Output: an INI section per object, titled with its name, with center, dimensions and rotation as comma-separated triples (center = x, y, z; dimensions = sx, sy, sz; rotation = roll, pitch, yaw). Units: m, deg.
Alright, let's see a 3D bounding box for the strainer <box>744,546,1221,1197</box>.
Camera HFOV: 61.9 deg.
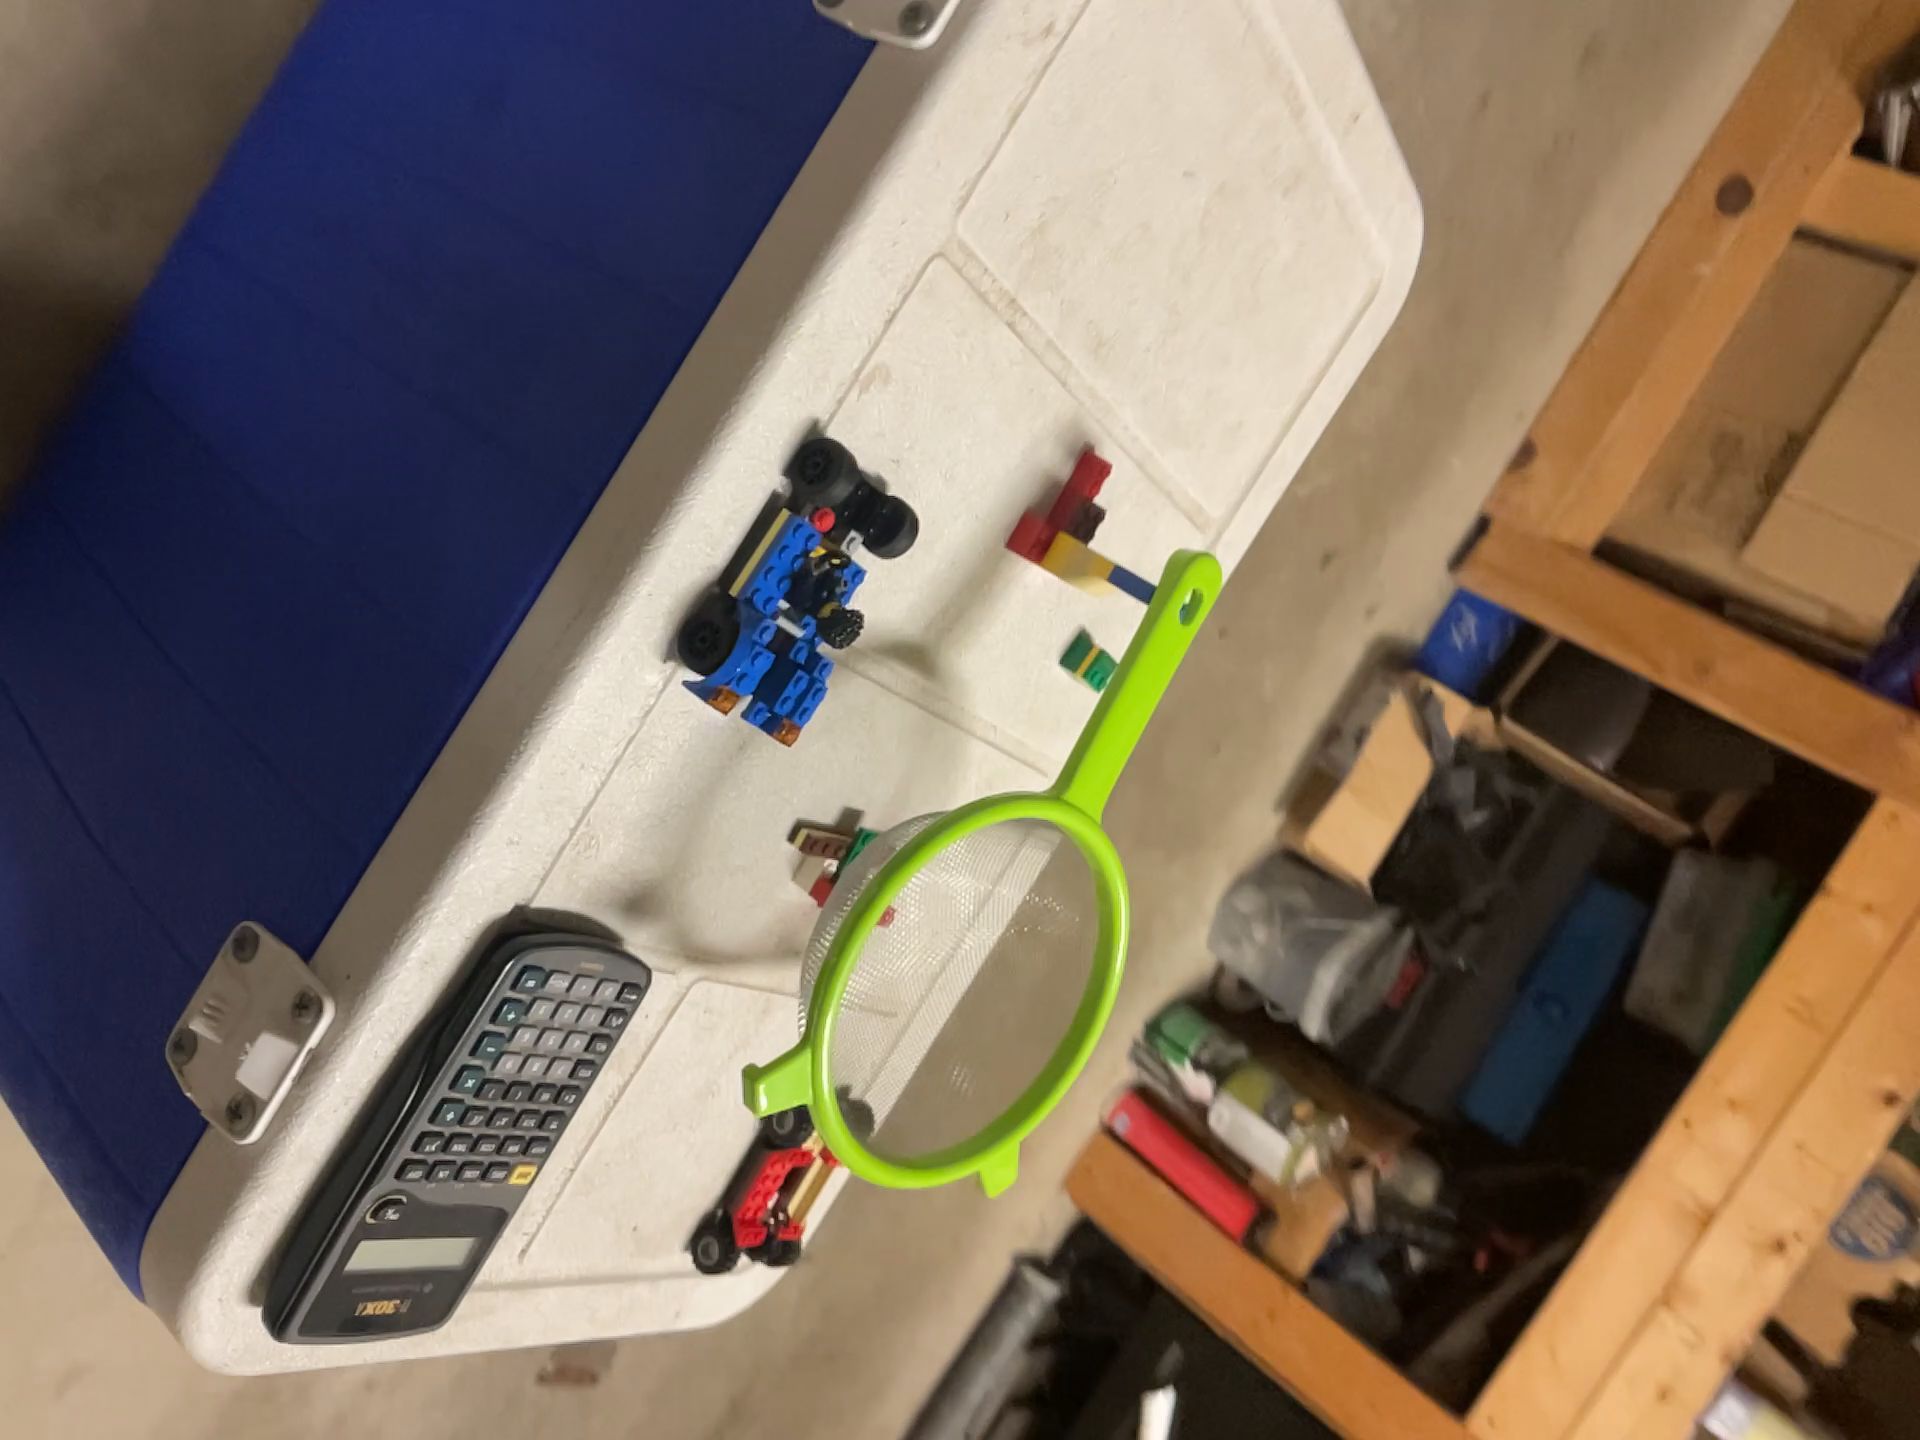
[strainer]
center = 0.014, 0.043, 0.597
dimensions = 0.151, 0.069, 0.256
rotation = 35, 80, -45
